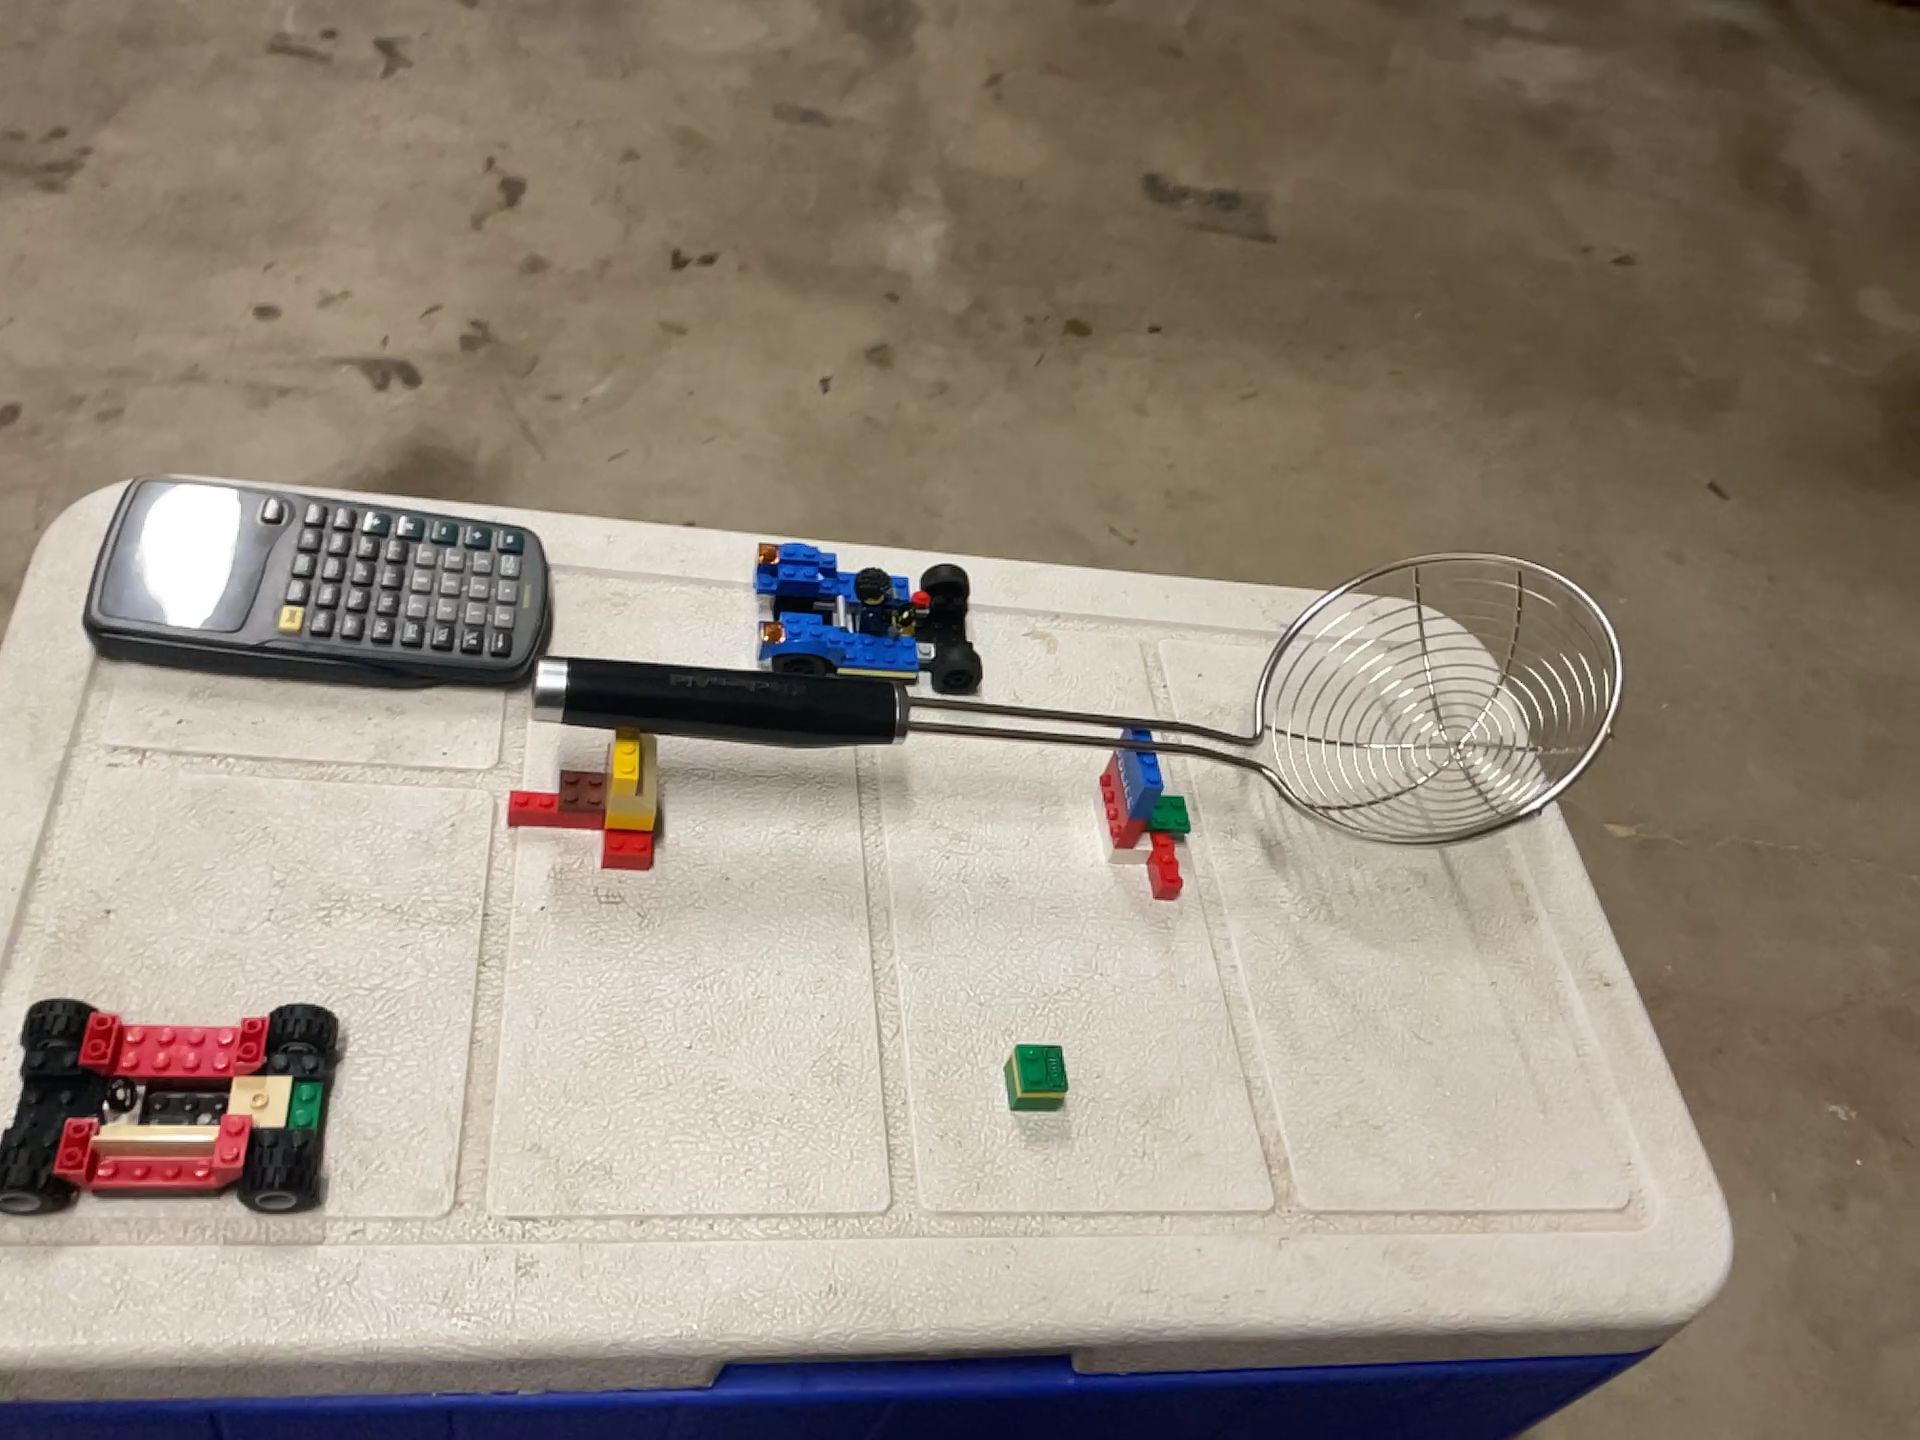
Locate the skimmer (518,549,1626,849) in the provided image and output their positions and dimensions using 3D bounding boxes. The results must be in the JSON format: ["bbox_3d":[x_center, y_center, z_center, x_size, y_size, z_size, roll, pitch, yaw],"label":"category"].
[{"bbox_3d":[0.042,-0.017,0.533,0.363,0.089,0.128,4,48,-16],"label":"skimmer"}]
